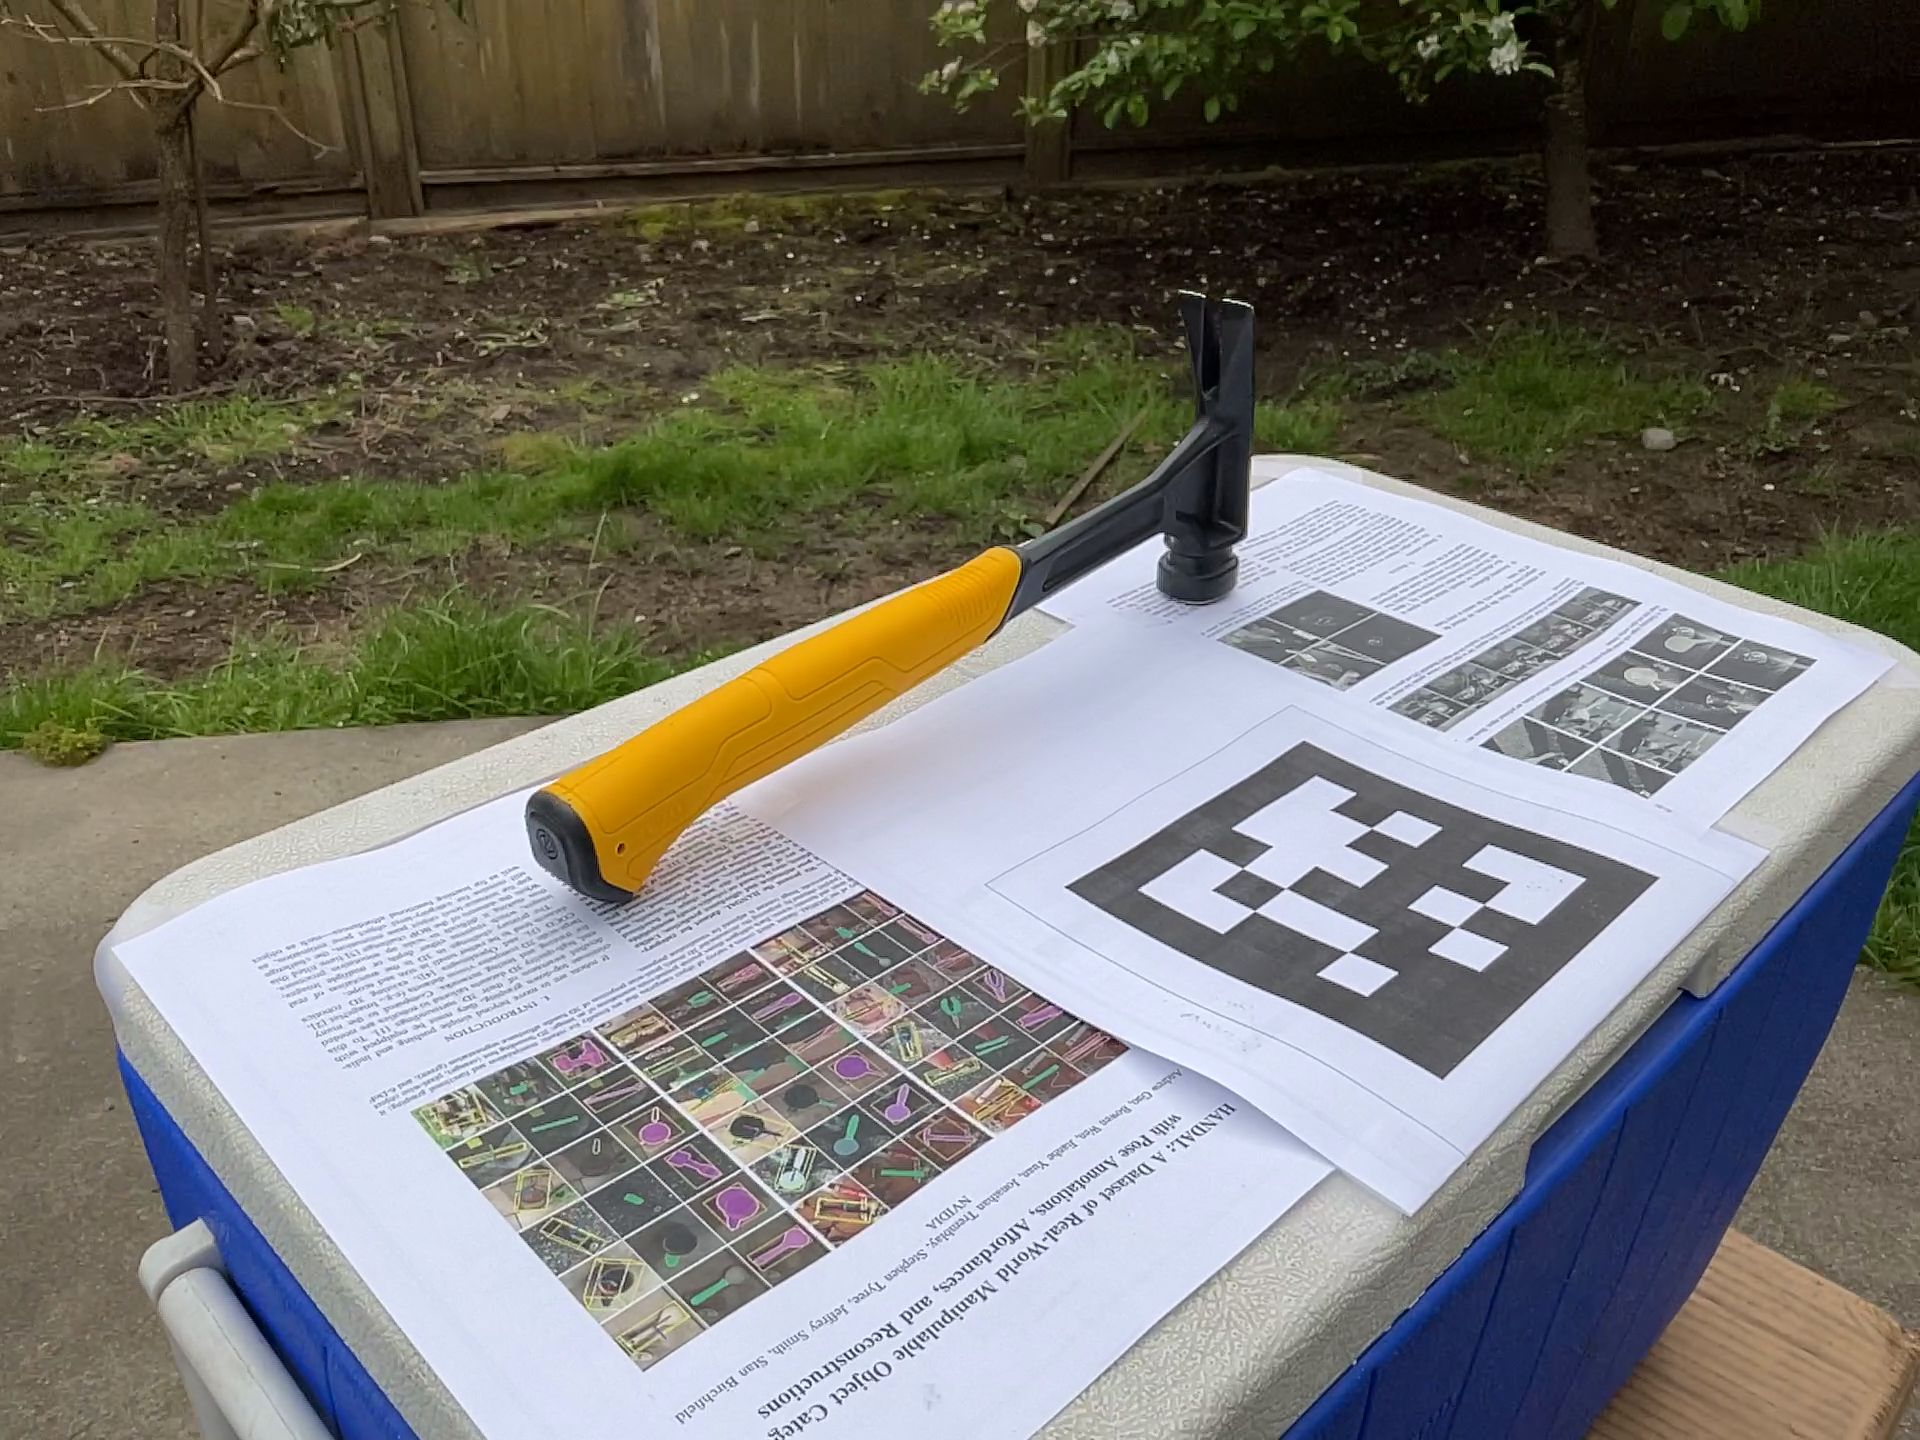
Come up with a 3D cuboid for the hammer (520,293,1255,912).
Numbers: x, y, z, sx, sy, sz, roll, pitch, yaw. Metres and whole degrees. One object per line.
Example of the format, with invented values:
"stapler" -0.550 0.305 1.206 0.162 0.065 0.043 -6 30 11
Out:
"hammer" -0.005 -0.039 0.550 0.034 0.127 0.337 25 43 35
